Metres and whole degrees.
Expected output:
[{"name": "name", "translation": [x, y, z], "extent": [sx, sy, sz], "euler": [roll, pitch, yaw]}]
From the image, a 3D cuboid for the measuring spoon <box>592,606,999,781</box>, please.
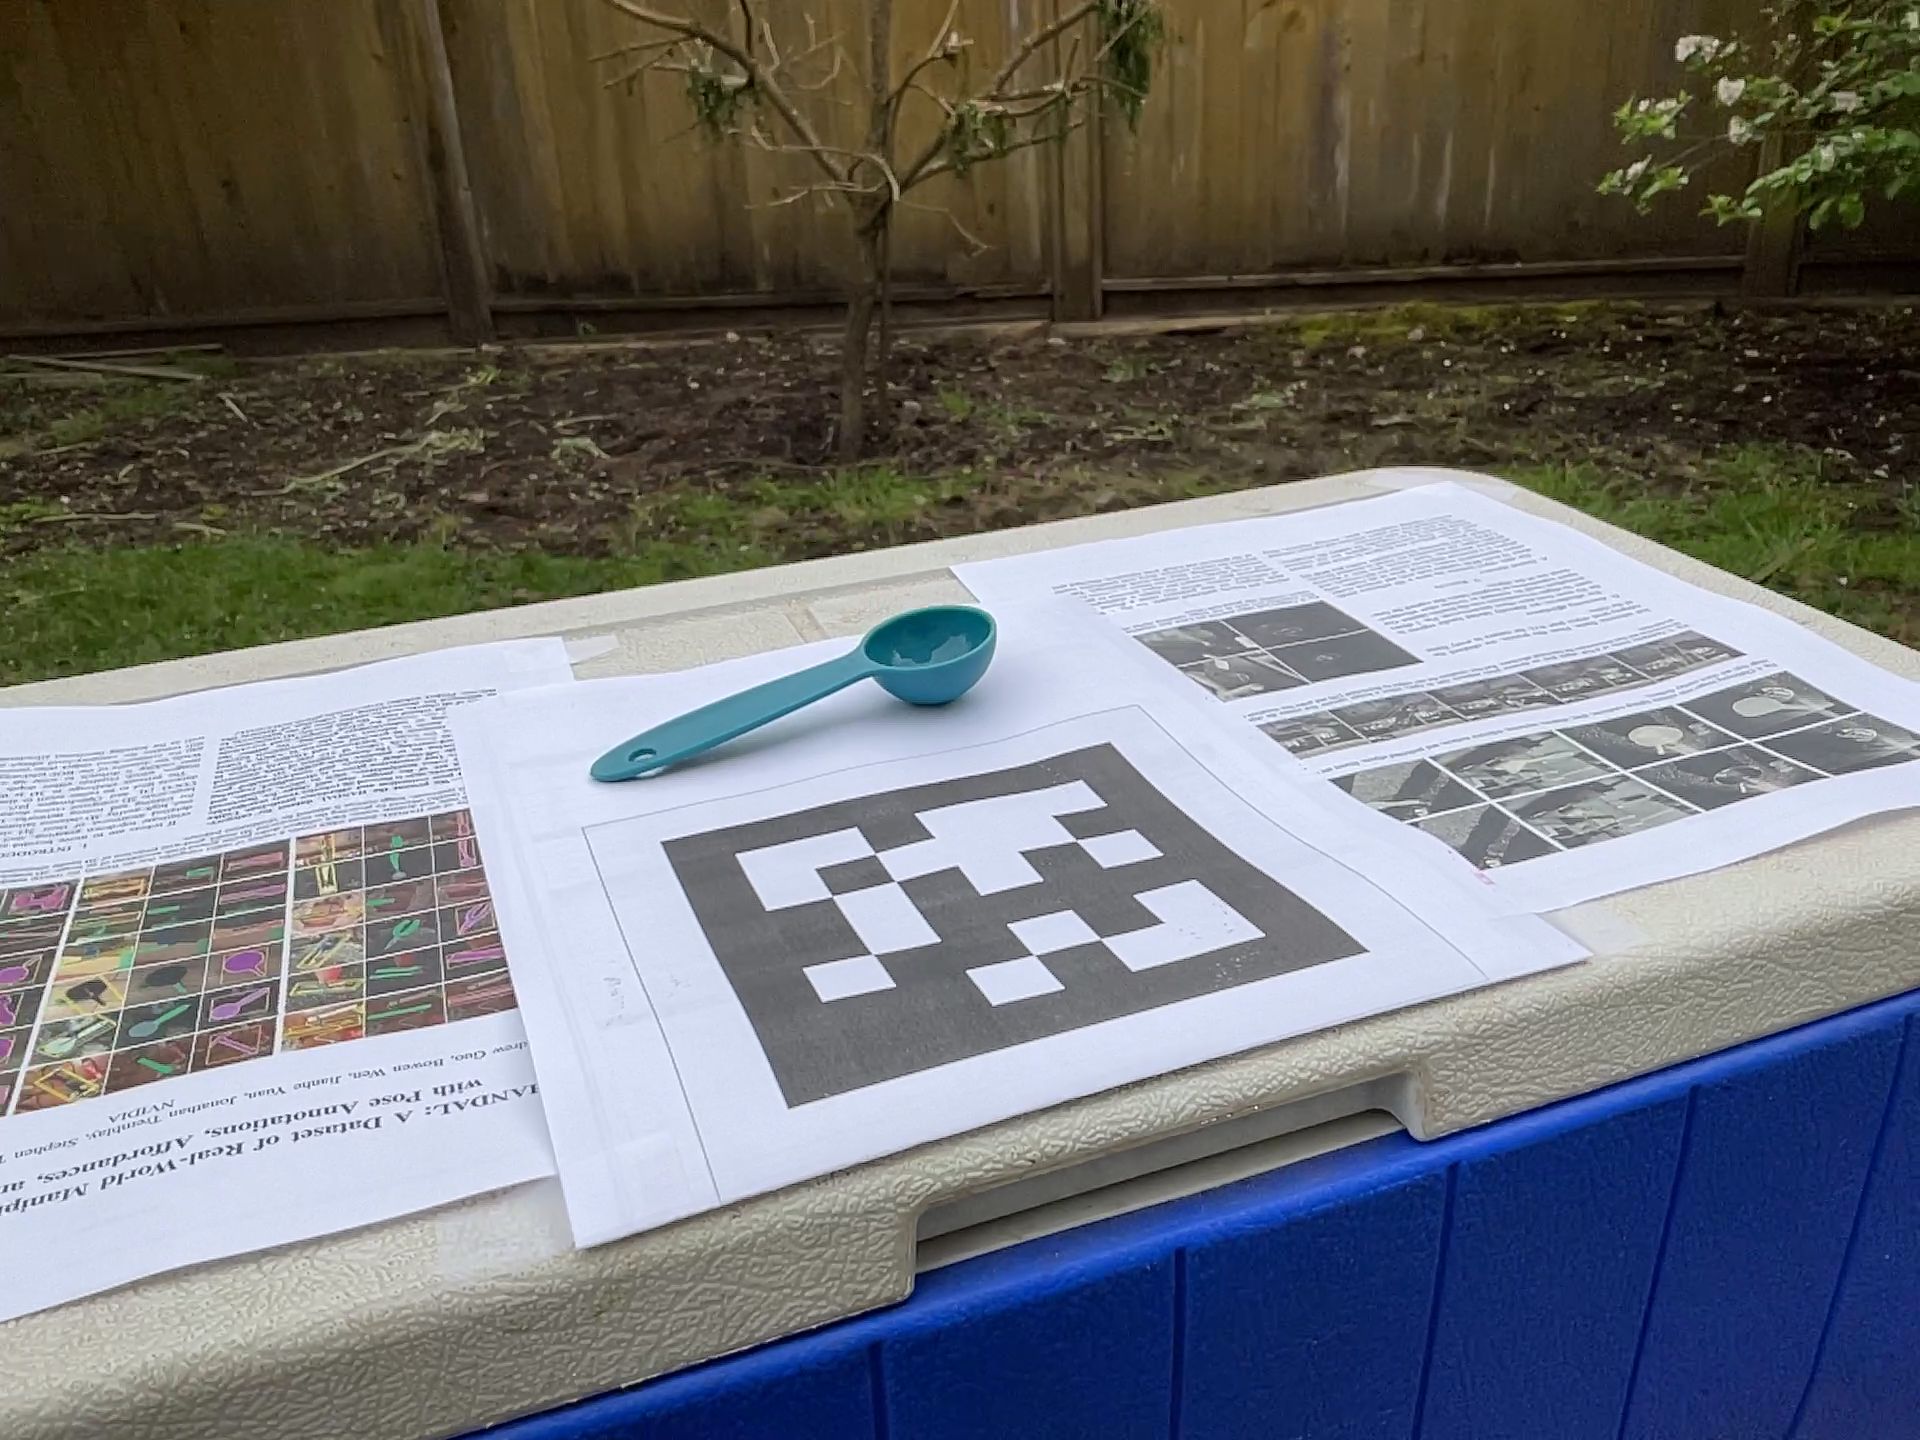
[{"name": "measuring spoon", "translation": [-0.046, -0.001, 0.477], "extent": [0.128, 0.021, 0.042], "euler": [-22, 30, -17]}]
